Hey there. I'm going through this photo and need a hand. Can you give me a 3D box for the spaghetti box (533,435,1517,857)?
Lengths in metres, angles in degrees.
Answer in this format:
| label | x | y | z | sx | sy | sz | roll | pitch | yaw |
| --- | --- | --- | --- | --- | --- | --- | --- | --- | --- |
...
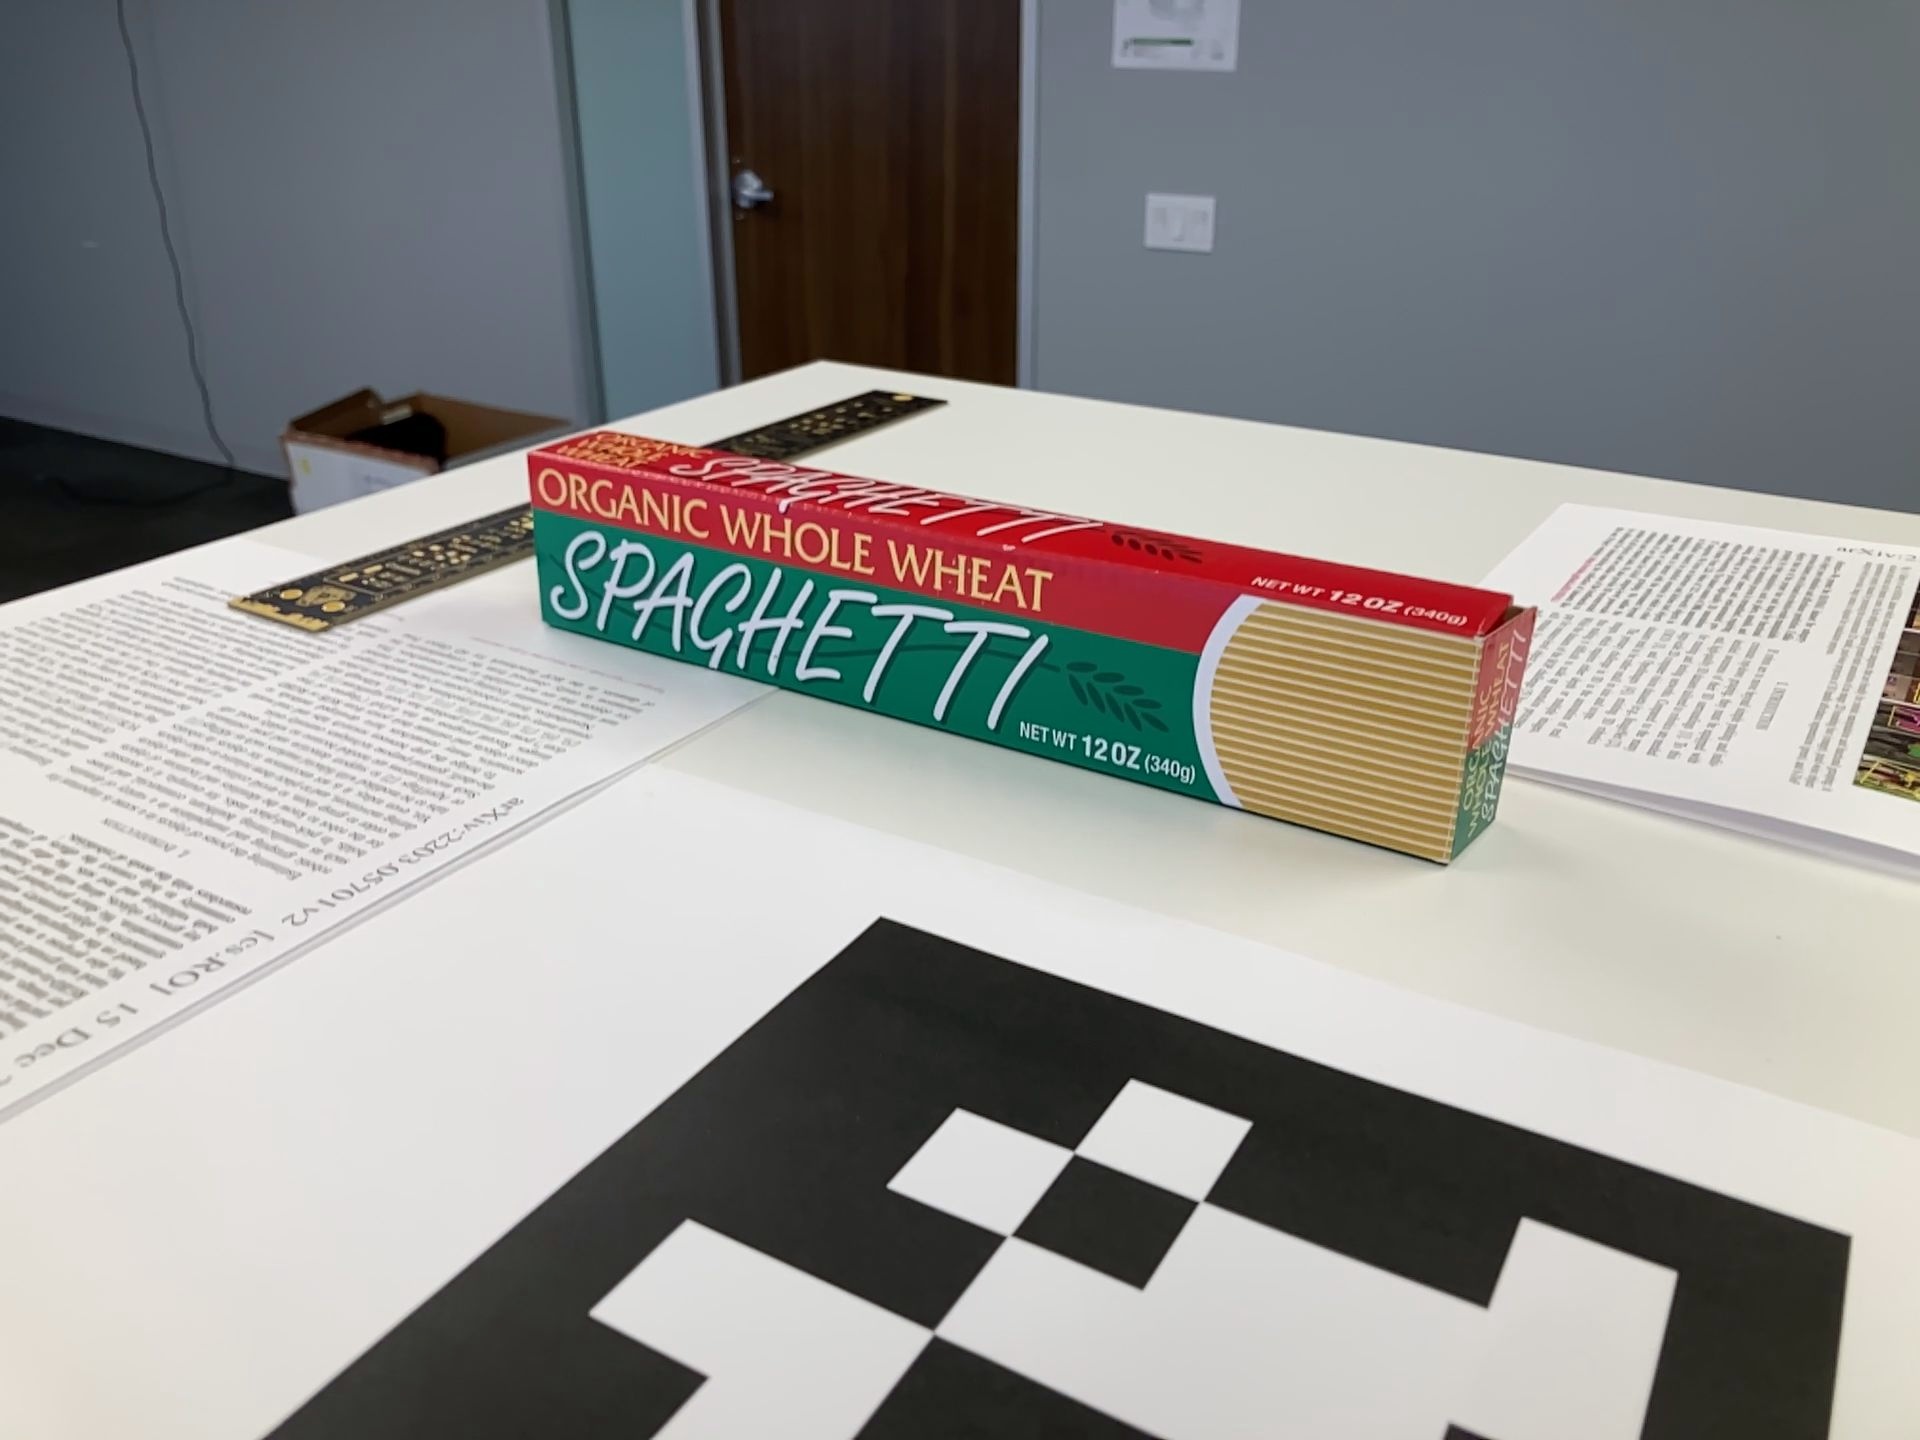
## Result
| label | x | y | z | sx | sy | sz | roll | pitch | yaw |
| --- | --- | --- | --- | --- | --- | --- | --- | --- | --- |
| spaghetti box | -0.002 | -0.025 | 0.376 | 0.250 | 0.050 | 0.028 | 14 | 25 | 28 |
